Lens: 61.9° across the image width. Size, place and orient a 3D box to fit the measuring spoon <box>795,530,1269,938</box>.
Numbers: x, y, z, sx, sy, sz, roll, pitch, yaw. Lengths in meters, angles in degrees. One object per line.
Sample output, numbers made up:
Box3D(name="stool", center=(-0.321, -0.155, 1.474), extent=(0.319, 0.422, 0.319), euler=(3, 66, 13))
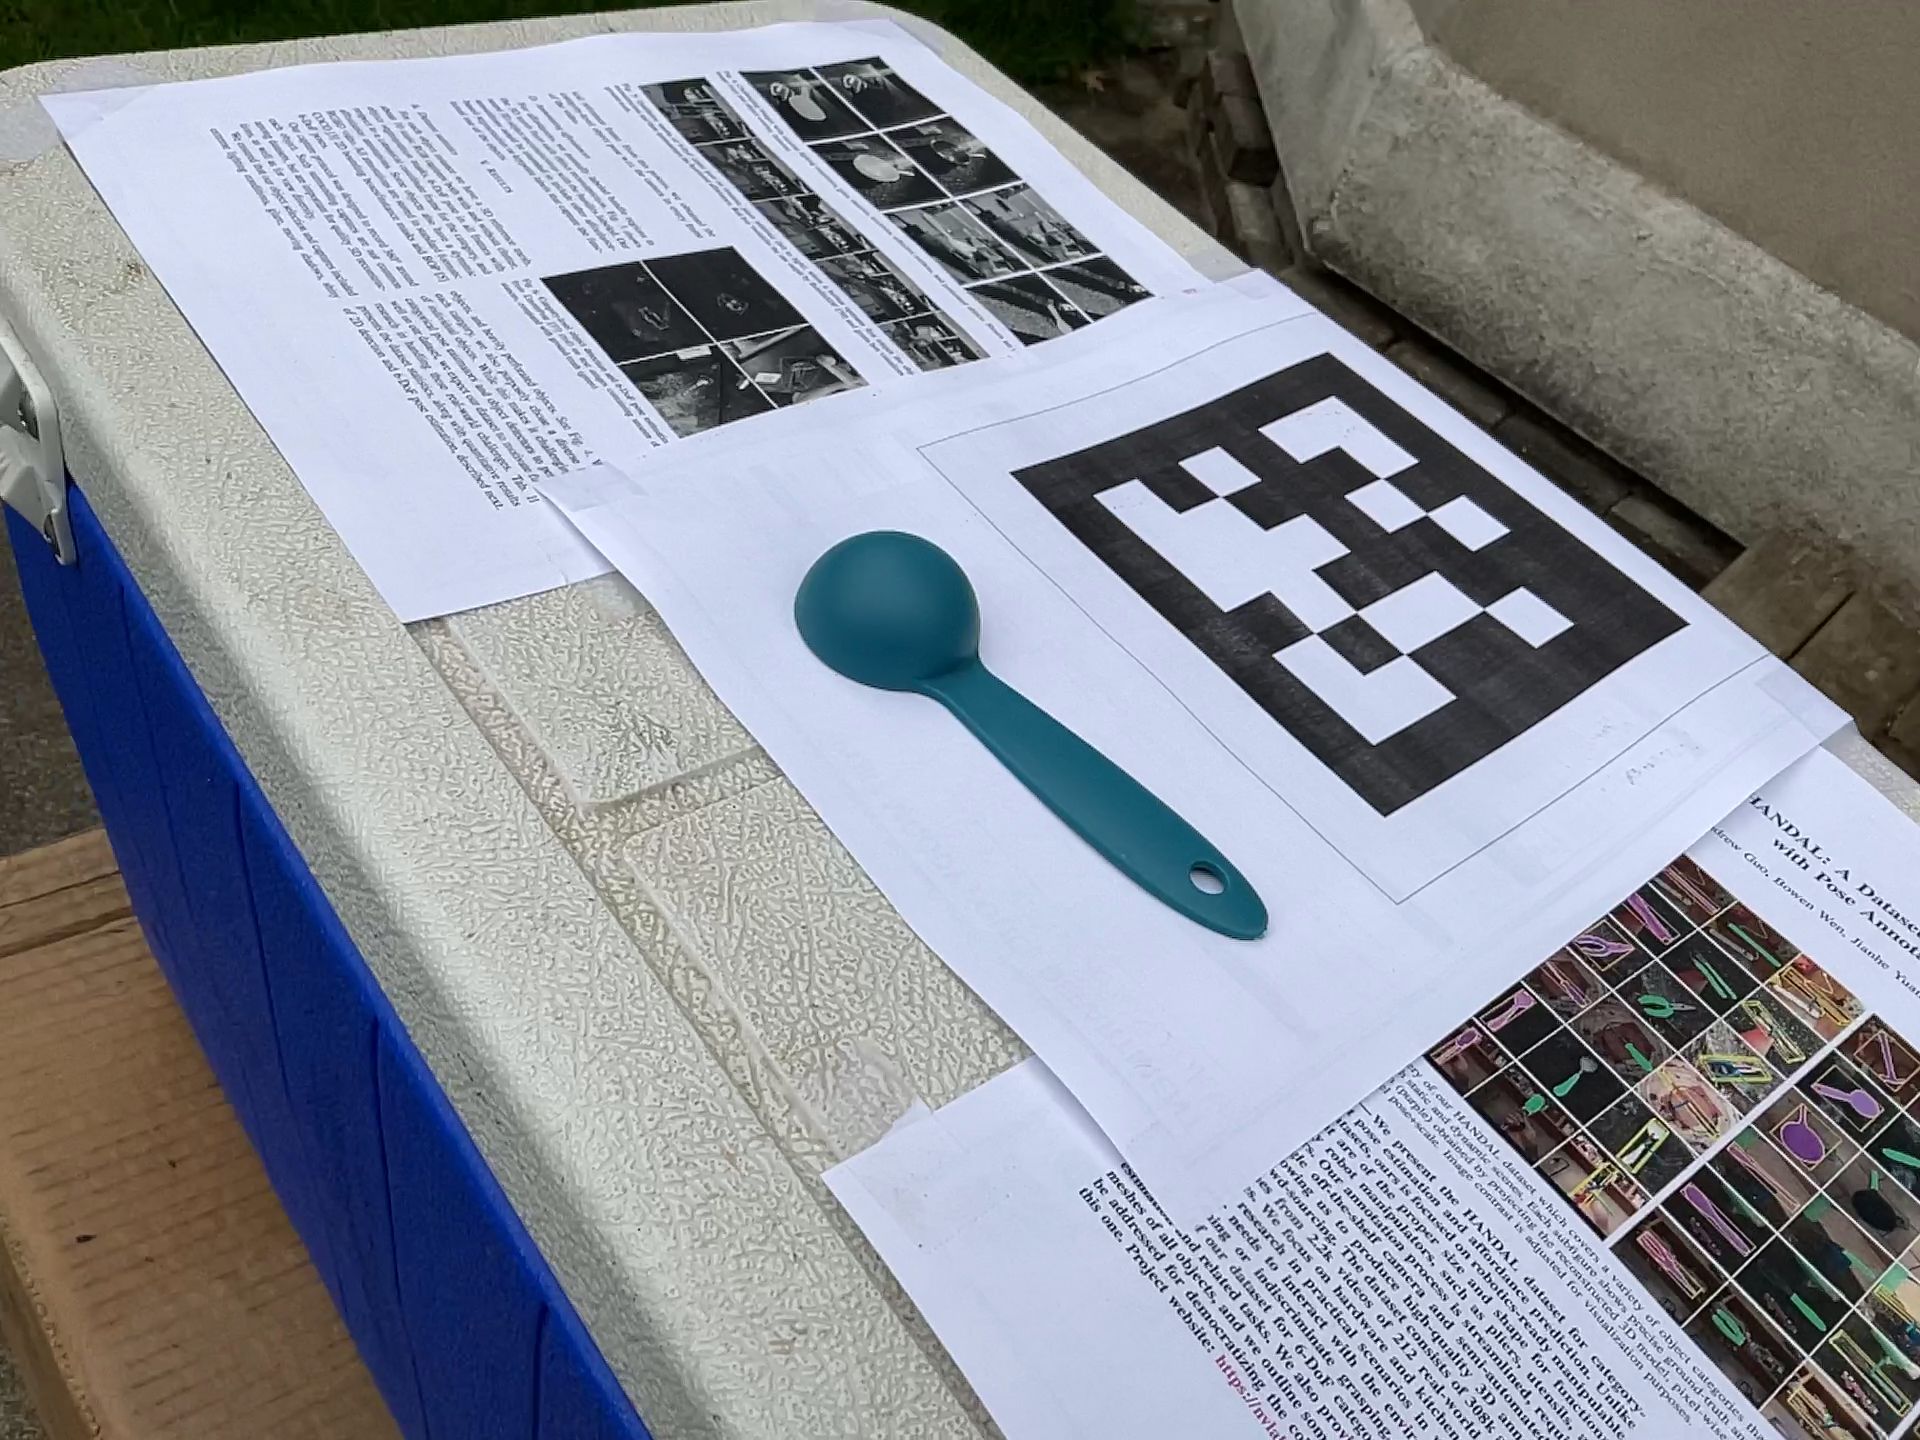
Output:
Box3D(name="measuring spoon", center=(0.017, -0.002, 0.337), extent=(0.129, 0.021, 0.042), euler=(40, 43, 21))
